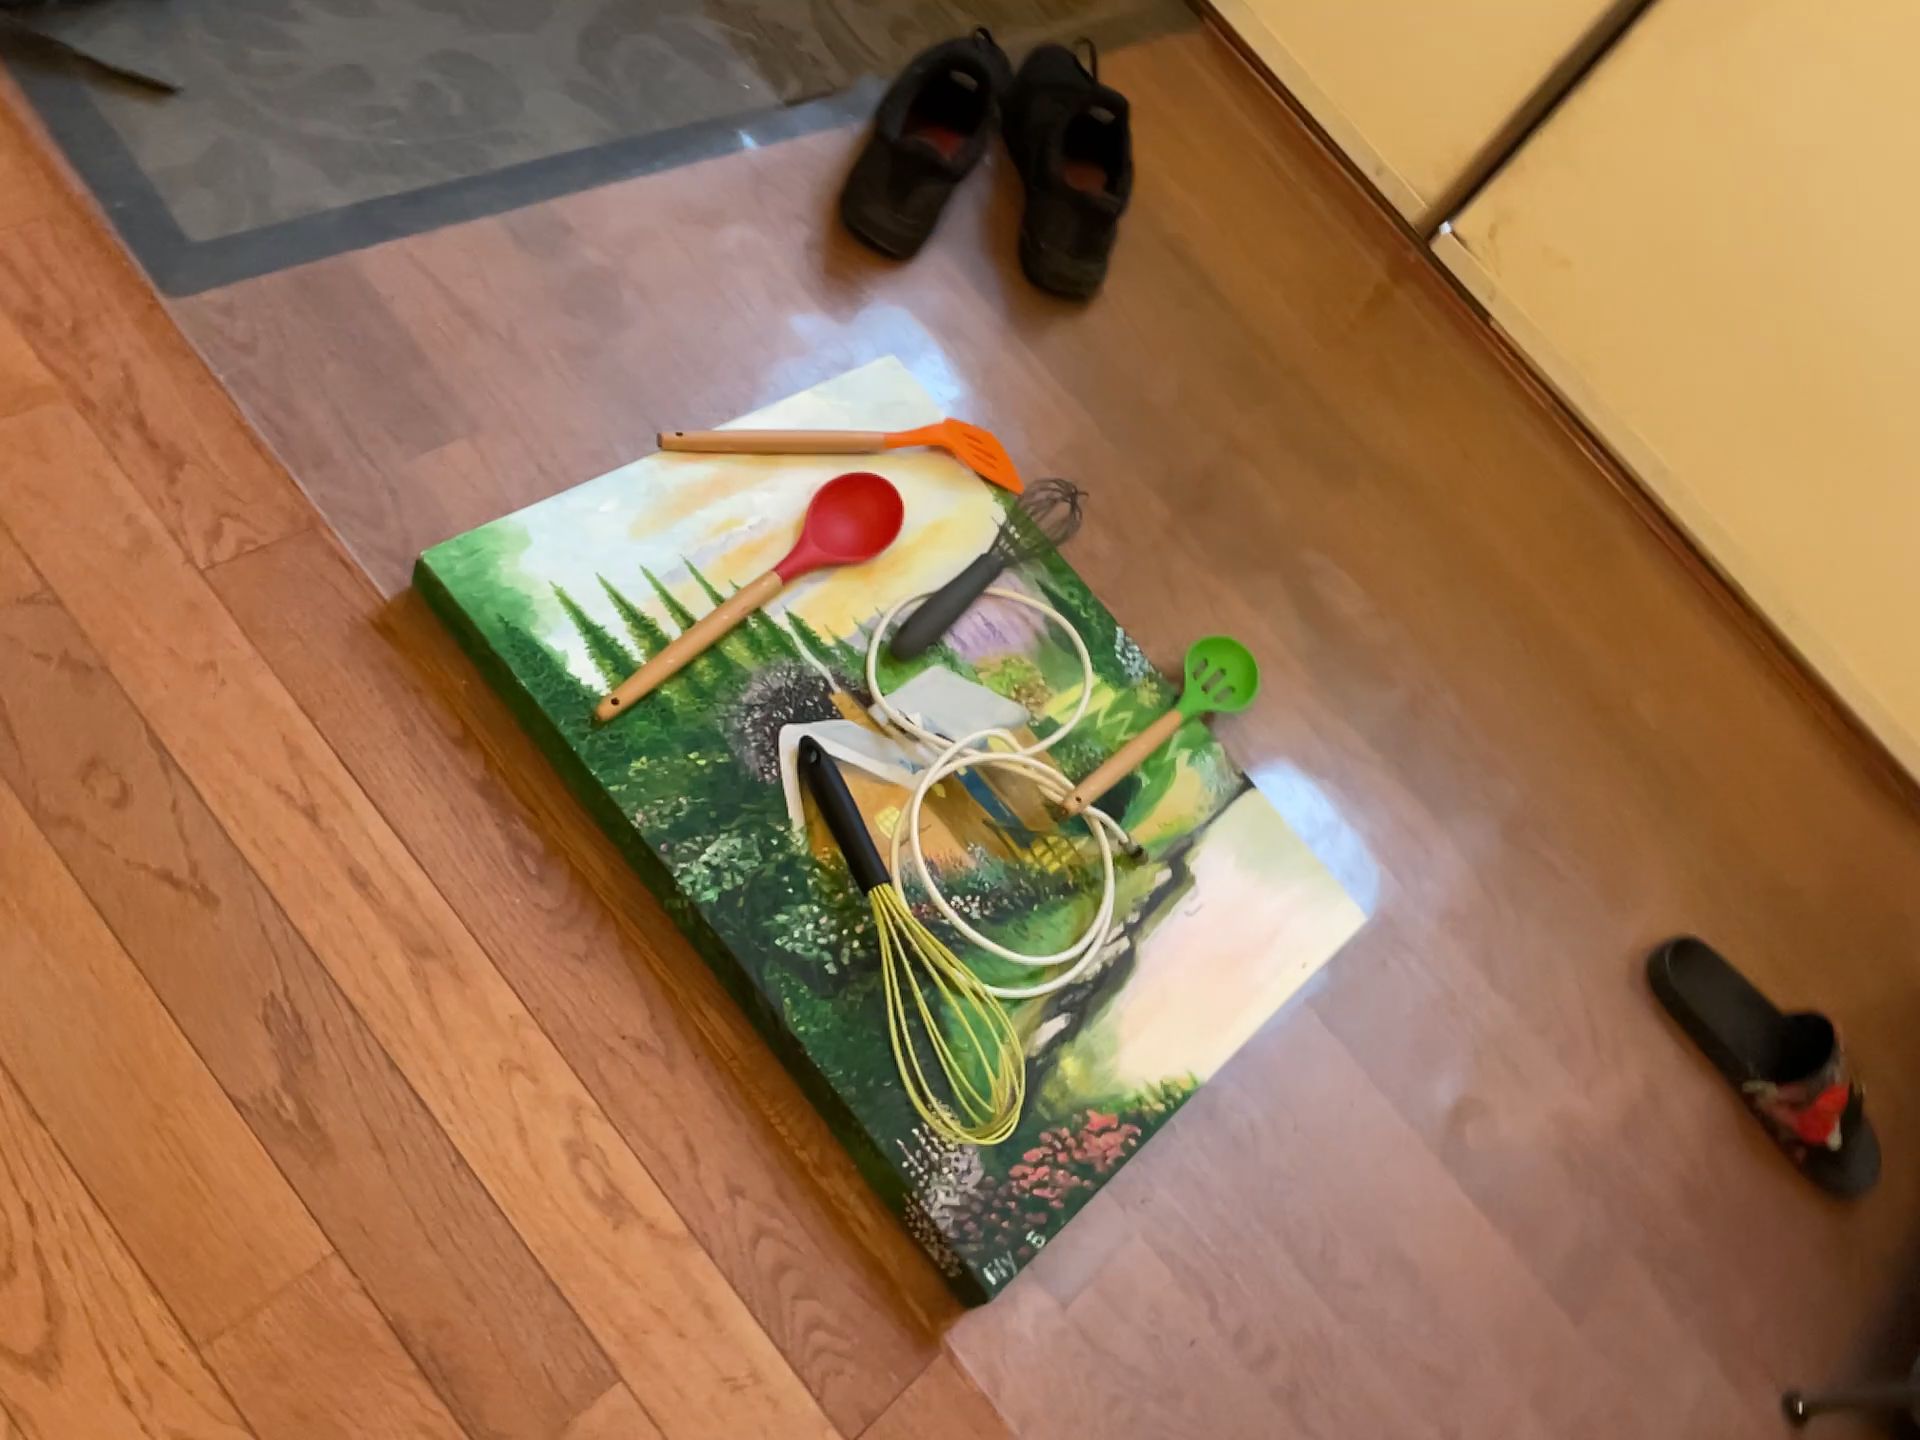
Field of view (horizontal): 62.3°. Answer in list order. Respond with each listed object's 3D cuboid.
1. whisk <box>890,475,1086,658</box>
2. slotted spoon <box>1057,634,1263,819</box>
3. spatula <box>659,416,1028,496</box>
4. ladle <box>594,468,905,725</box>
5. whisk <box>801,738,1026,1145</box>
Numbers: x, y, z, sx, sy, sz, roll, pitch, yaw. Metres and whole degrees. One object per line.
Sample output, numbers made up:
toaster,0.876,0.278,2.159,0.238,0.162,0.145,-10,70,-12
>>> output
whisk,0.024,-0.121,1.251,0.055,0.055,0.239,39,58,11
slotted spoon,0.157,0.006,1.249,0.070,0.031,0.314,49,41,5
spatula,-0.086,-0.216,1.274,0.322,0.041,0.081,-6,54,-28
ladle,-0.150,-0.090,1.156,0.069,0.031,0.315,44,55,3
whisk,-0.042,0.142,1.063,0.080,0.067,0.312,-10,62,-37
